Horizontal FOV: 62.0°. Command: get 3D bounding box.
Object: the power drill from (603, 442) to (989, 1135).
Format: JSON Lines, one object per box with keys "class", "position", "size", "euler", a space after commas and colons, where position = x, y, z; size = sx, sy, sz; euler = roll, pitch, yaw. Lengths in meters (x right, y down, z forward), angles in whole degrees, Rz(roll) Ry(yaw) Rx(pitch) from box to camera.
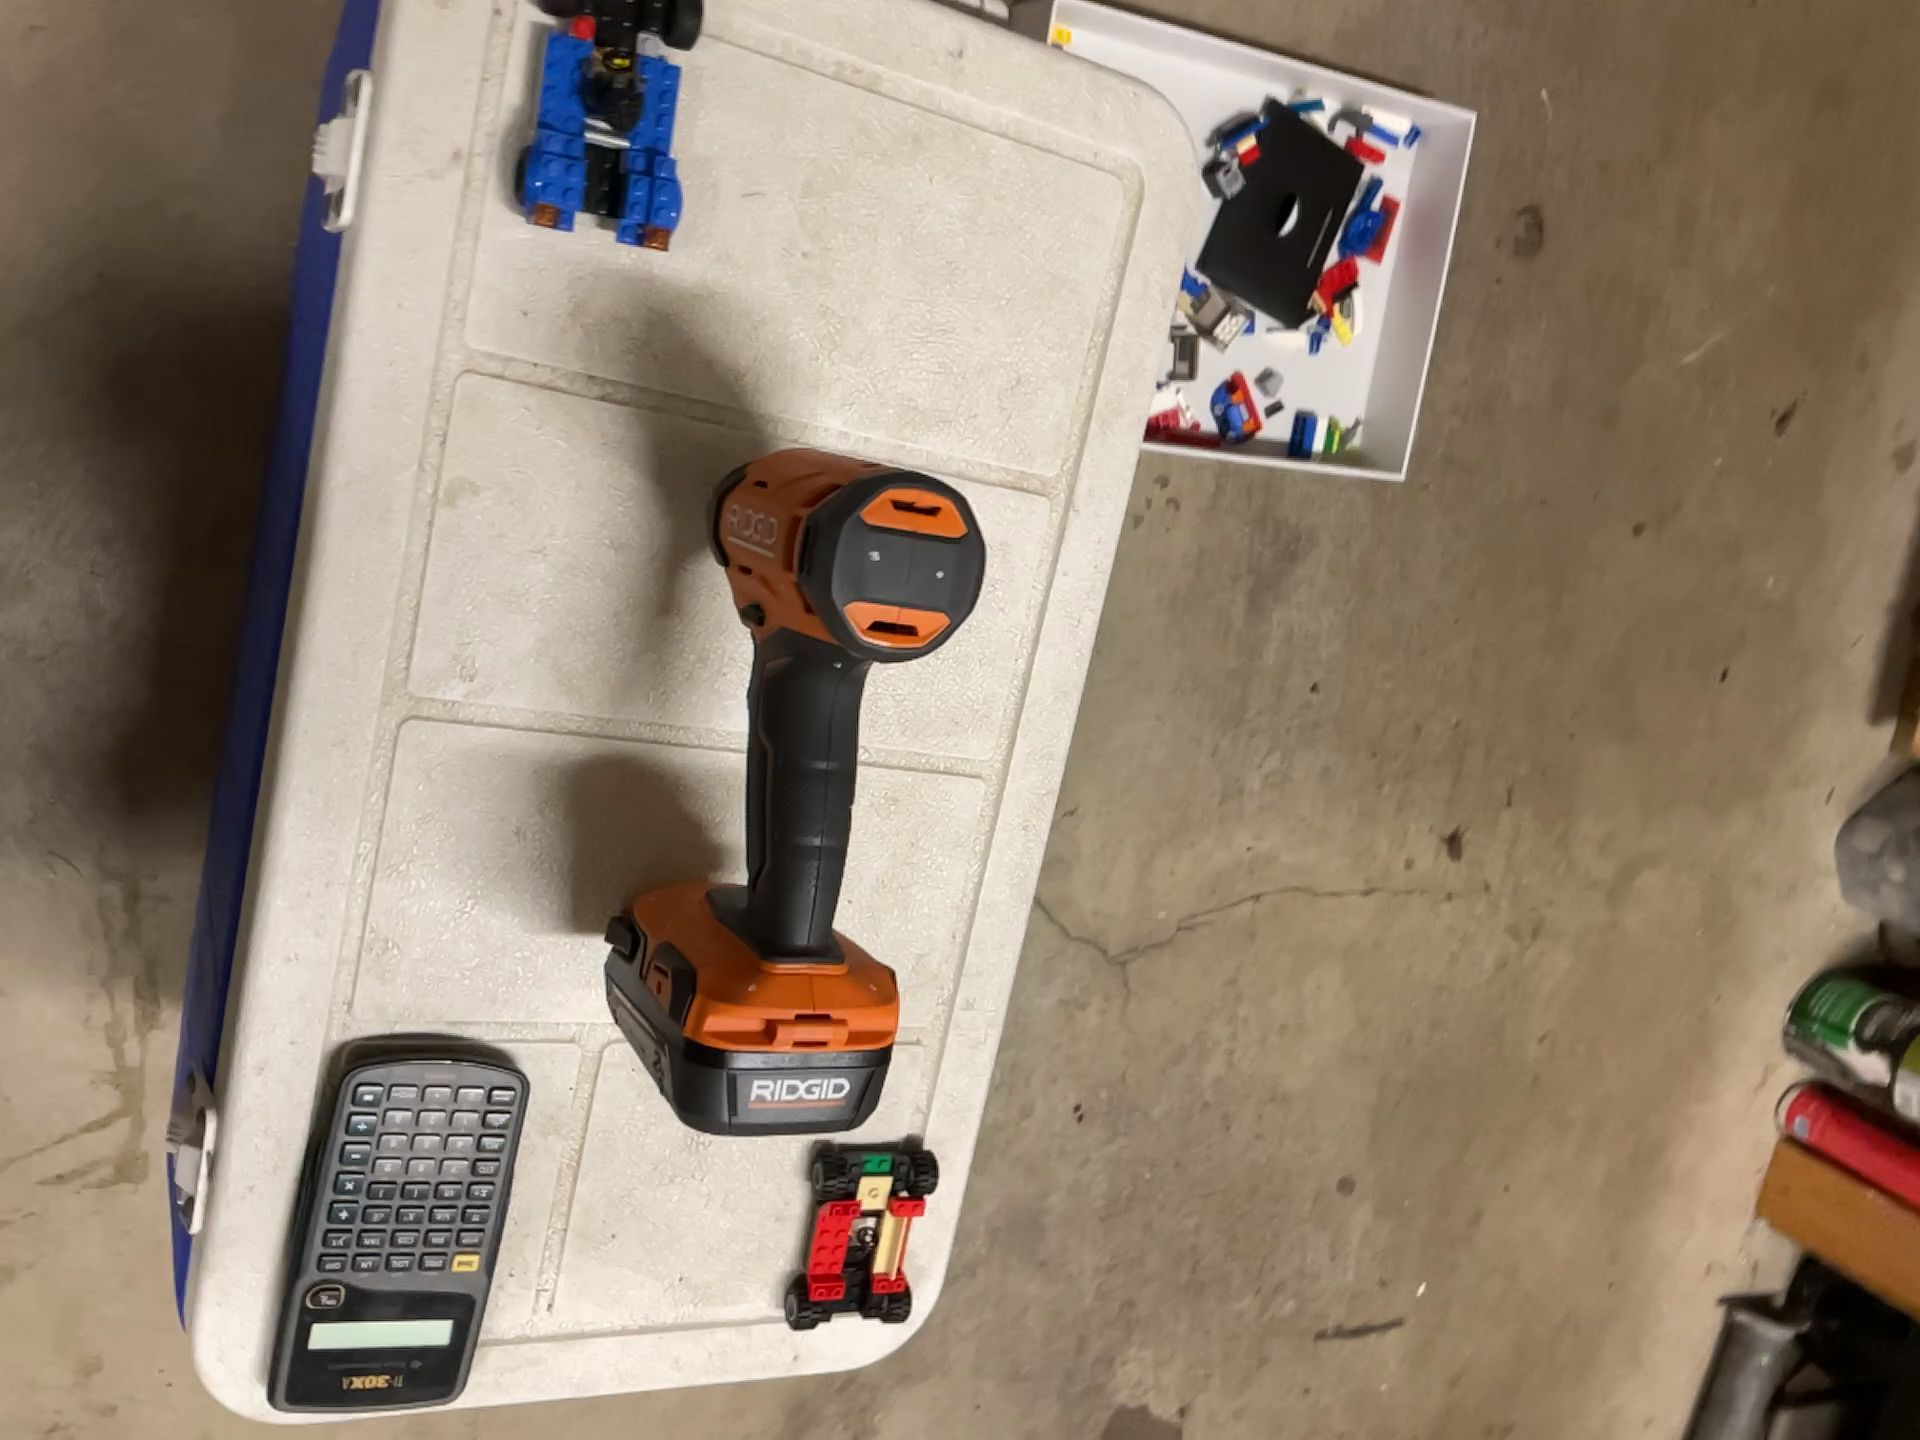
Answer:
{"class": "power drill", "position": [-0.068, 0.013, 0.577], "size": [0.084, 0.164, 0.226], "euler": [6, 101, -28]}
